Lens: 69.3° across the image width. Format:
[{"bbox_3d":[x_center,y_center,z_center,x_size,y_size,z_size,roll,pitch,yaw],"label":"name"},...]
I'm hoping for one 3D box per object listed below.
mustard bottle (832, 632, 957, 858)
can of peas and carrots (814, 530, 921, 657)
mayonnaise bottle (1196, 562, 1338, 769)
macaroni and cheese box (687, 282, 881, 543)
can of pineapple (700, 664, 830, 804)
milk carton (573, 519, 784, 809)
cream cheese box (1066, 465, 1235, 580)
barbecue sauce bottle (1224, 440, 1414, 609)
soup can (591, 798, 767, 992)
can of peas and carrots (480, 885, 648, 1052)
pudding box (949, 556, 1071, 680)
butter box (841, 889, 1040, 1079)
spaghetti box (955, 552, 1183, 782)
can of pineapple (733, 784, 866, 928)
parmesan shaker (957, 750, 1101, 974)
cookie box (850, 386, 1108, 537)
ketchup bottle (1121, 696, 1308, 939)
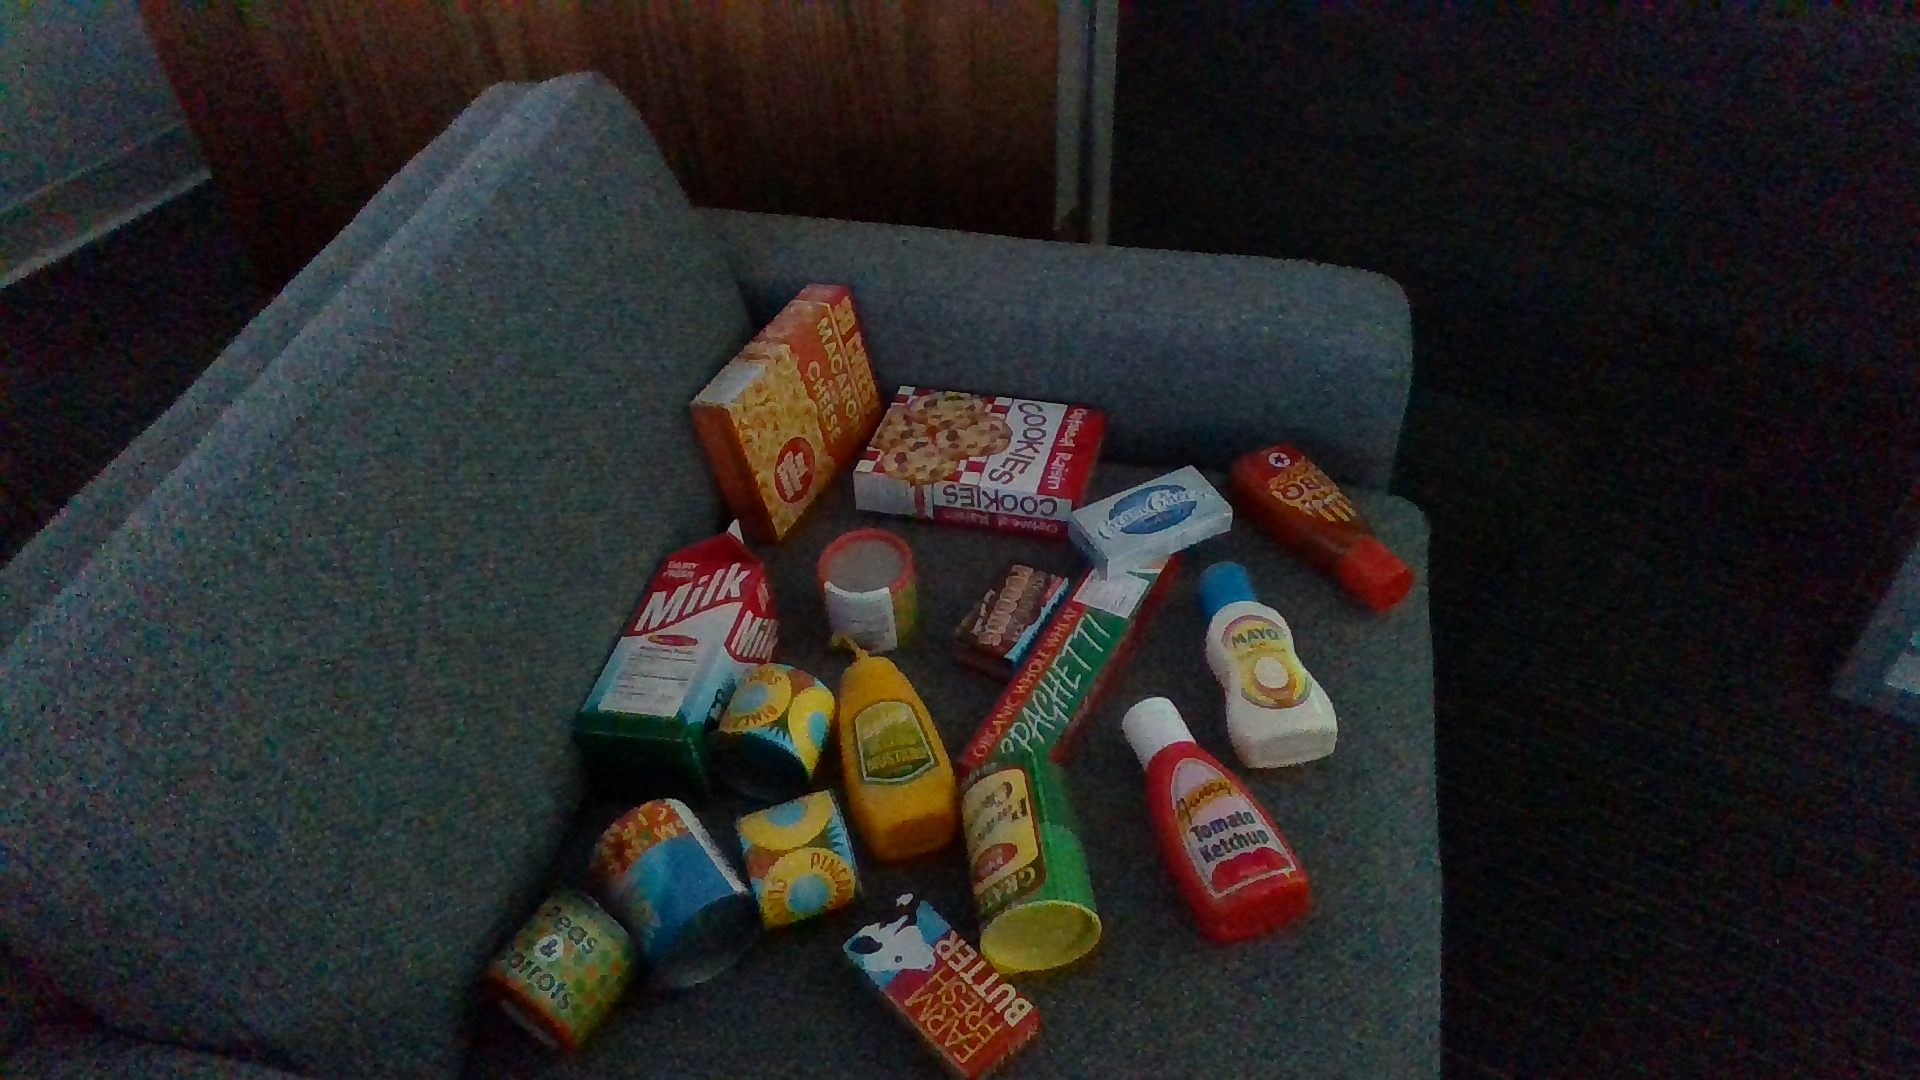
[{"bbox_3d":[-0.049,0.116,0.858,0.065,0.048,0.161,-14,49,-12],"label":"mustard bottle"},{"bbox_3d":[-0.062,0.033,0.937,0.071,0.058,0.071,-3,42,3],"label":"can of peas and carrots"},{"bbox_3d":[0.188,0.076,0.887,0.065,0.041,0.149,-10,43,-3],"label":"mayonnaise bottle"},{"bbox_3d":[-0.124,-0.098,1.041,0.040,0.123,0.167,8,44,28],"label":"macaroni and cheese box"},{"bbox_3d":[-0.118,0.116,0.848,0.071,0.070,0.058,5,40,10],"label":"can of pineapple"},{"bbox_3d":[-0.170,0.074,0.901,0.073,0.072,0.192,4,44,14],"label":"milk carton"},{"bbox_3d":[0.130,-0.013,0.947,0.104,0.024,0.053,-21,44,-18],"label":"cream cheese box"},{"bbox_3d":[0.254,-0.011,0.977,0.065,0.043,0.149,-19,47,-23],"label":"barbecue sauce bottle"},{"bbox_3d":[-0.159,0.195,0.767,0.071,0.071,0.084,-29,49,-24],"label":"soup can"},{"bbox_3d":[-0.211,0.227,0.738,0.071,0.070,0.059,22,52,26],"label":"can of peas and carrots"},{"bbox_3d":[0.035,0.053,0.926,0.050,0.030,0.084,20,50,25],"label":"pudding box"},{"bbox_3d":[-0.011,0.239,0.742,0.053,0.024,0.104,-35,51,-26],"label":"butter box"},{"bbox_3d":[0.078,0.069,0.904,0.050,0.028,0.251,19,47,23],"label":"spaghetti box"},{"bbox_3d":[-0.090,0.178,0.780,0.058,0.070,0.071,-16,44,-12],"label":"can of pineapple"},{"bbox_3d":[0.034,0.179,0.778,0.071,0.071,0.103,-8,43,-3],"label":"parmesan shaker"},{"bbox_3d":[0.017,-0.062,1.041,0.167,0.040,0.123,8,38,13],"label":"cookie box"},{"bbox_3d":[0.139,0.156,0.806,0.065,0.043,0.149,-15,44,-12],"label":"ketchup bottle"}]
